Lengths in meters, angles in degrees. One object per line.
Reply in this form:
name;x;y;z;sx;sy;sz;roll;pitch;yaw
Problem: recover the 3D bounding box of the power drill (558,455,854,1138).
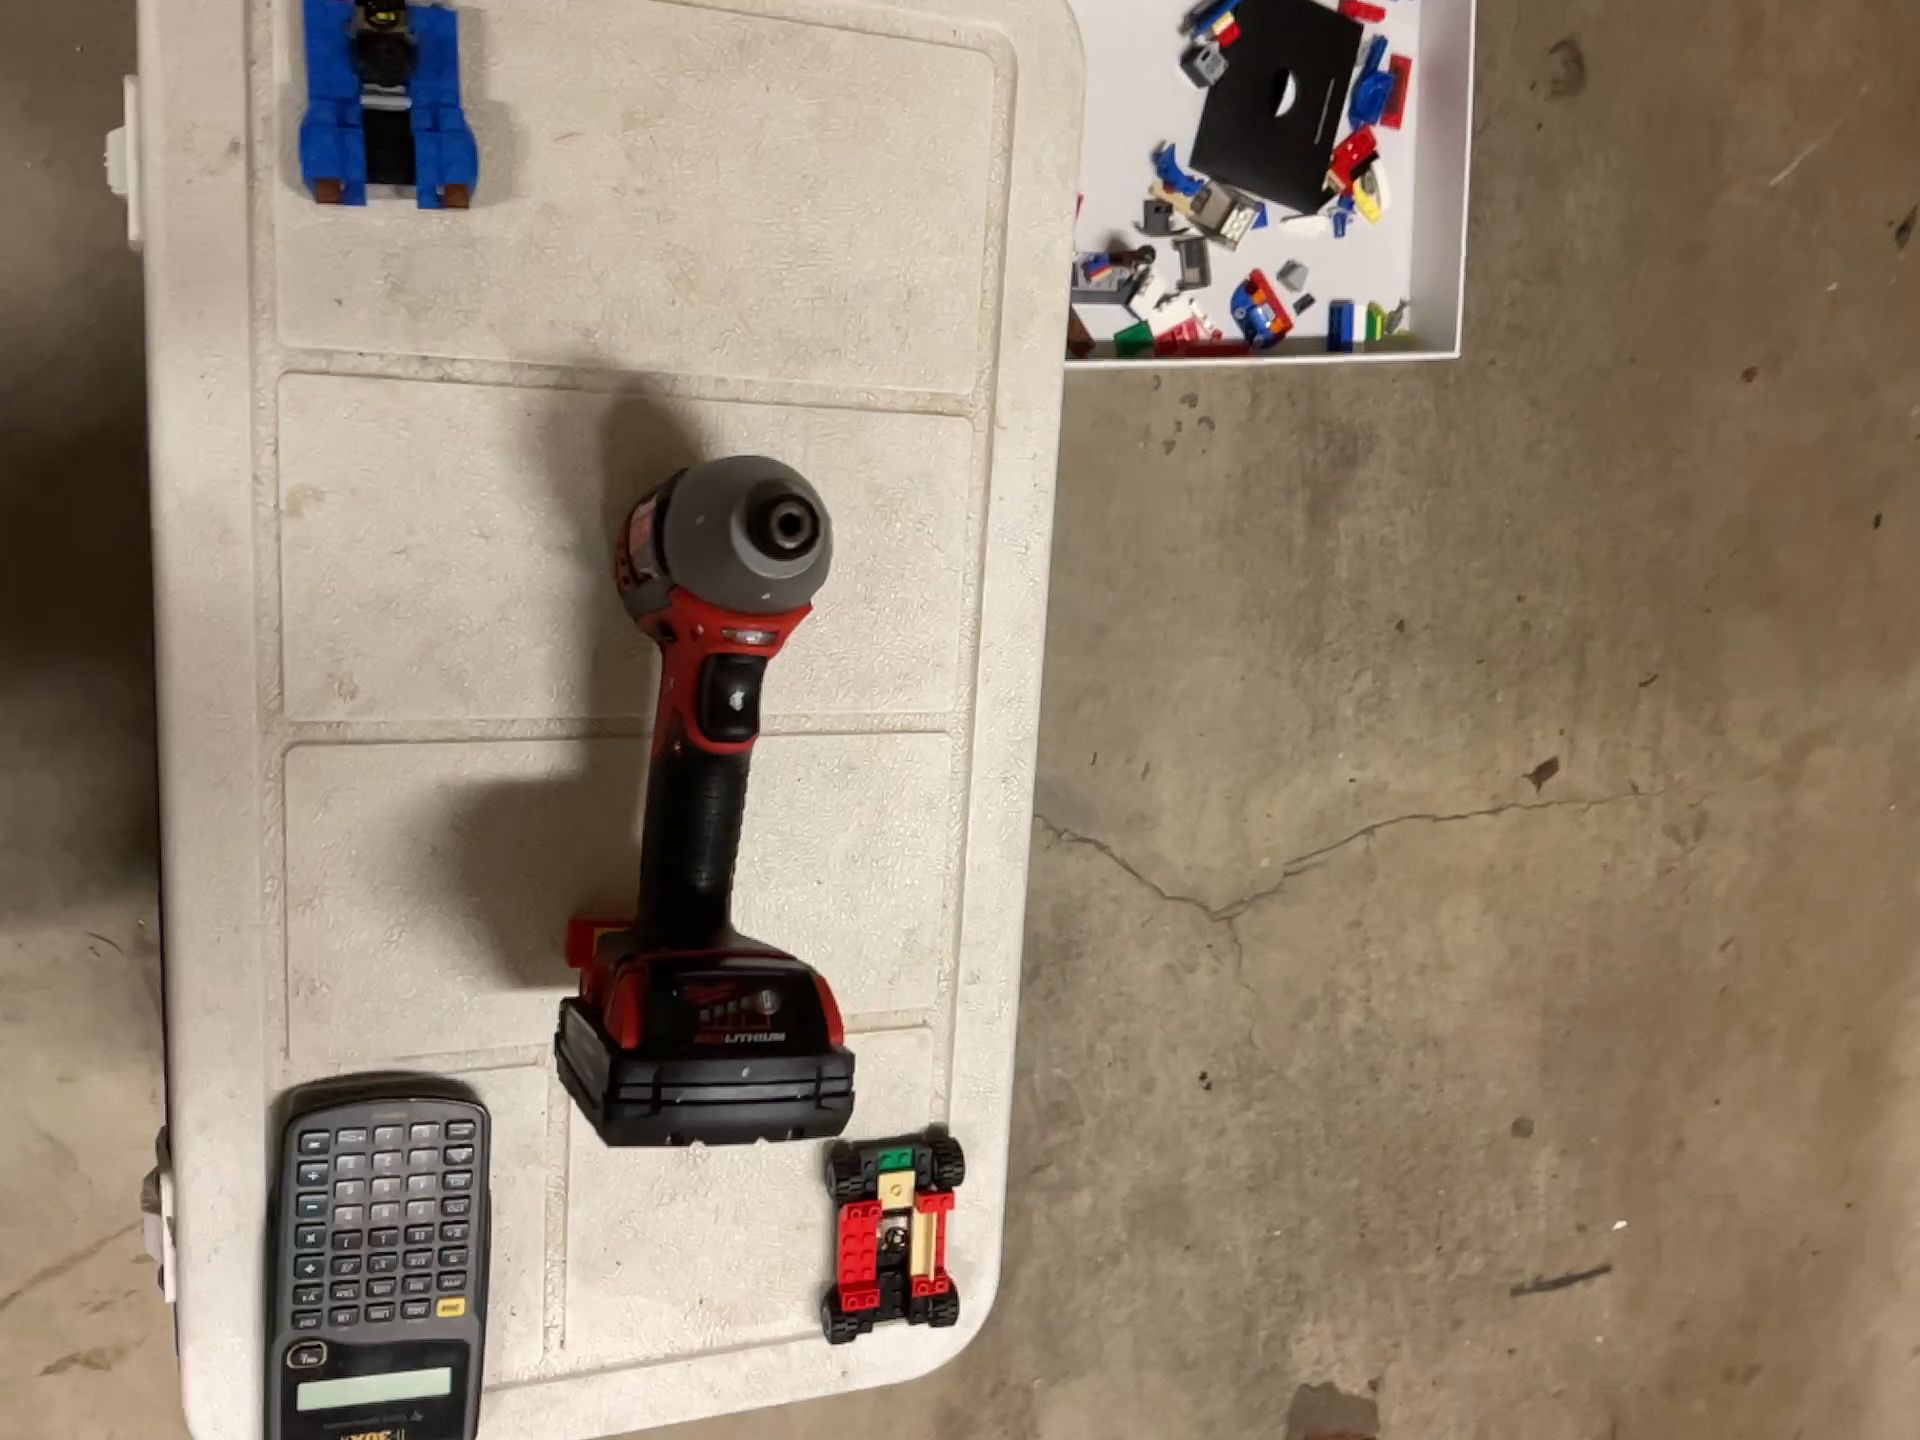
power drill;-0.082;0.021;0.541;0.078;0.143;0.219;4;87;-23
